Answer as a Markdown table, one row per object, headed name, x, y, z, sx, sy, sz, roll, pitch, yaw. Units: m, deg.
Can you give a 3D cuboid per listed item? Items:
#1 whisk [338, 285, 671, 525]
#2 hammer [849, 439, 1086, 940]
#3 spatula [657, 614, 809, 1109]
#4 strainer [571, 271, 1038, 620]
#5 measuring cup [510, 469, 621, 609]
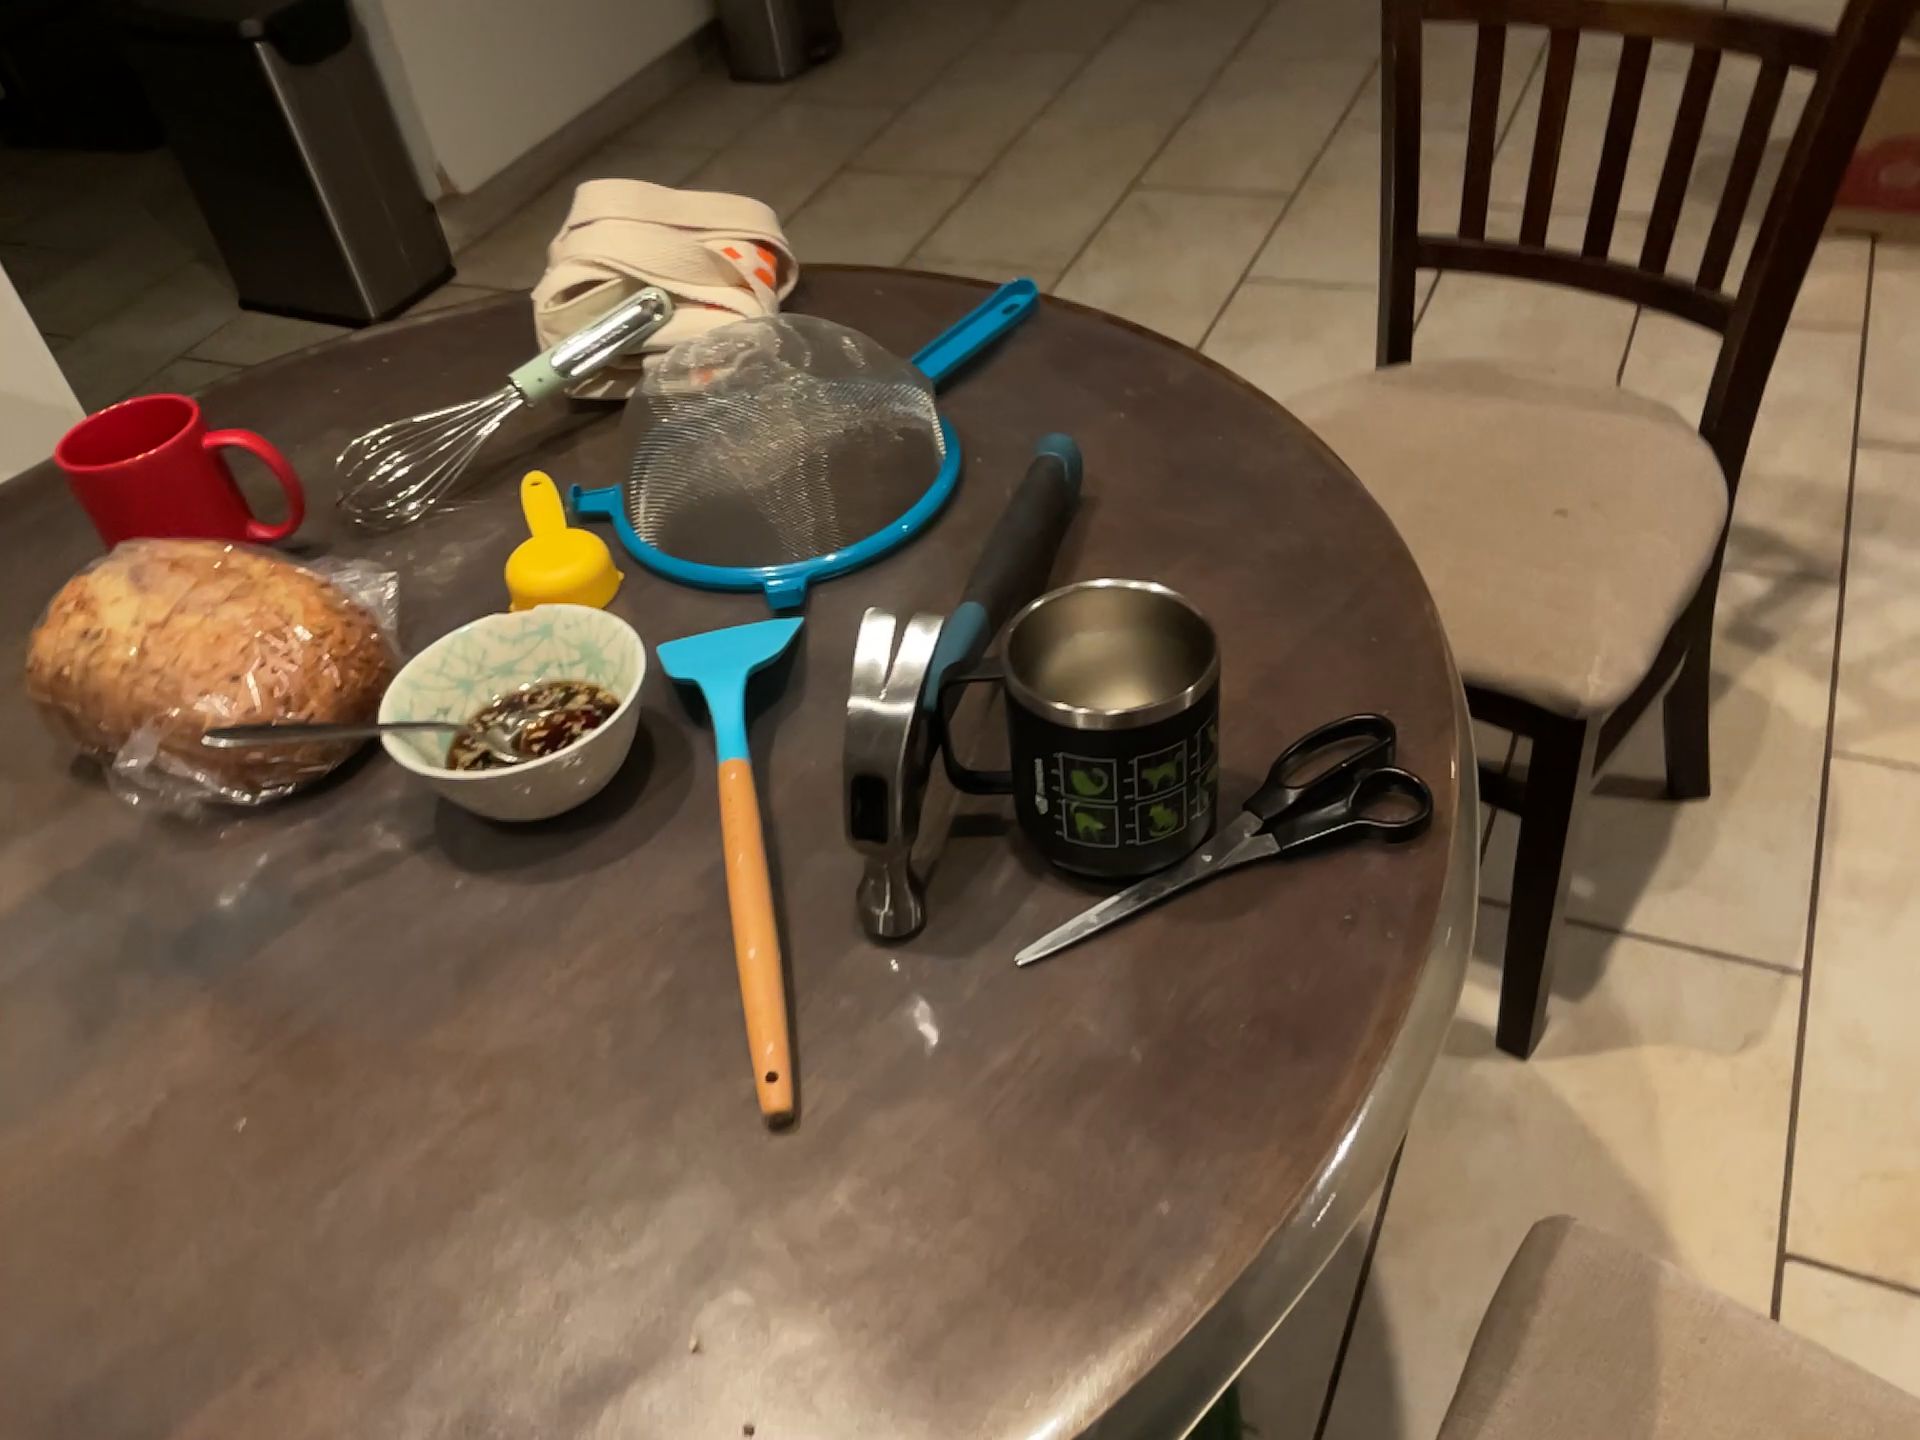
| name | x | y | z | sx | sy | sz | roll | pitch | yaw |
| --- | --- | --- | --- | --- | --- | --- | --- | --- | --- |
| whisk | -0.281 | -0.202 | 1.000 | 0.246 | 0.057 | 0.059 | -39 | 18 | -18 |
| hammer | 0.012 | -0.049 | 0.771 | 0.033 | 0.128 | 0.331 | 7 | 35 | 14 |
| spatula | -0.097 | 0.044 | 0.736 | 0.082 | 0.044 | 0.318 | -11 | 46 | -3 |
| strainer | -0.068 | -0.211 | 0.959 | 0.211 | 0.095 | 0.340 | 27 | 57 | 33 |
| measuring cup | -0.239 | -0.113 | 0.928 | 0.062 | 0.029 | 0.157 | -18 | 44 | -10 |
